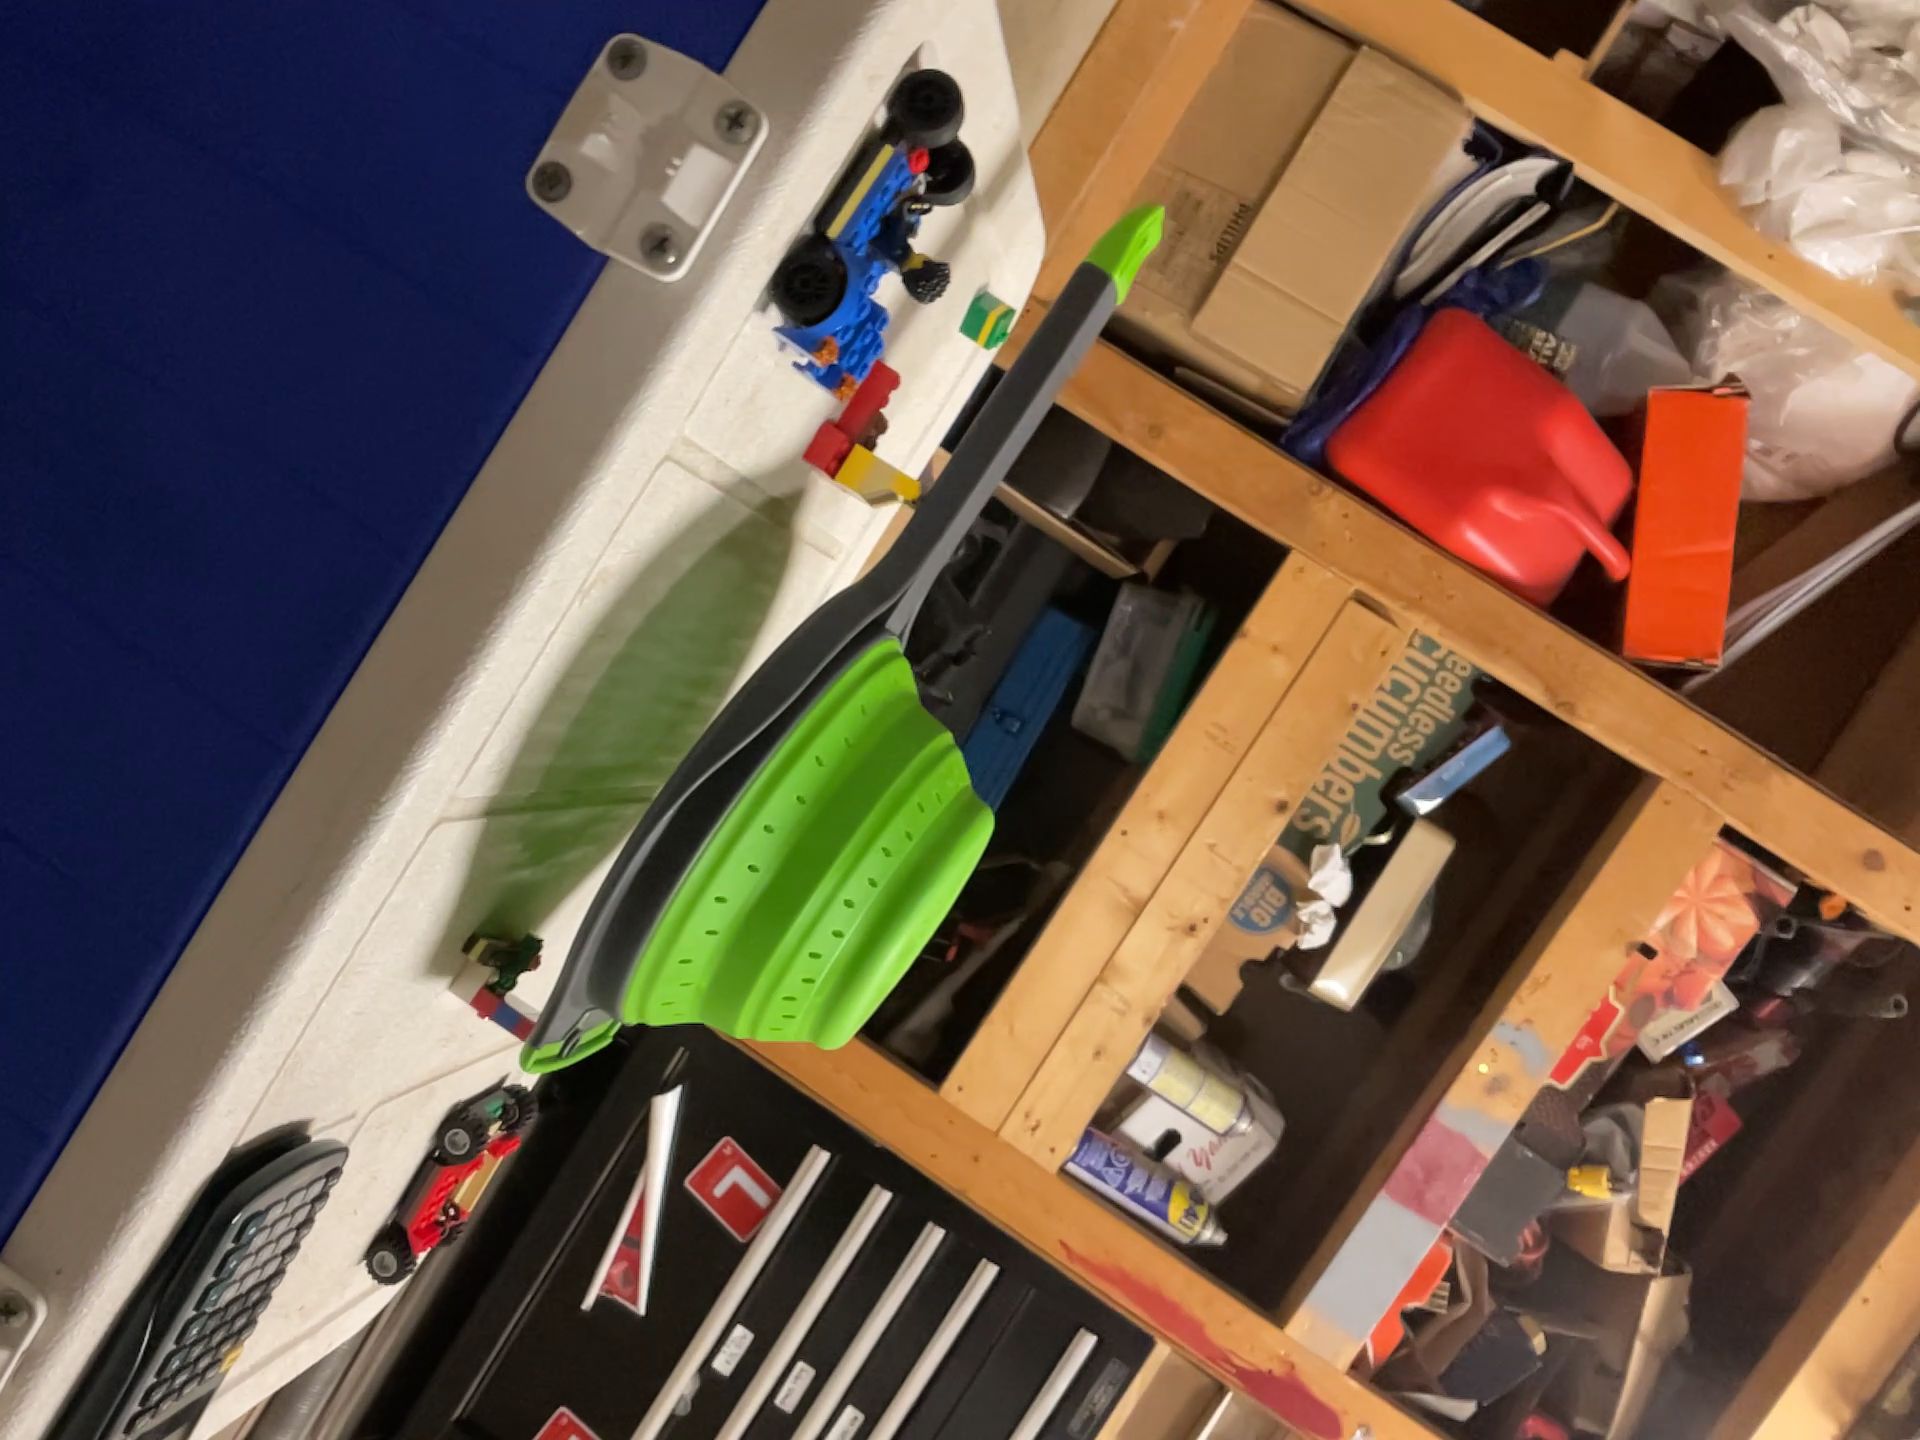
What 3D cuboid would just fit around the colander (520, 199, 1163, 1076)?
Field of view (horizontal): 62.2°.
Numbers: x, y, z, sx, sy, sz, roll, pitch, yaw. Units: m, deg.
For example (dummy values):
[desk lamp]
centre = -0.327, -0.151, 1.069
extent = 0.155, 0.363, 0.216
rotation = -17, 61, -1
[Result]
[colander]
centre = -0.007, -0.013, 0.604
extent = 0.397, 0.094, 0.204
rotation = -56, 174, -2
